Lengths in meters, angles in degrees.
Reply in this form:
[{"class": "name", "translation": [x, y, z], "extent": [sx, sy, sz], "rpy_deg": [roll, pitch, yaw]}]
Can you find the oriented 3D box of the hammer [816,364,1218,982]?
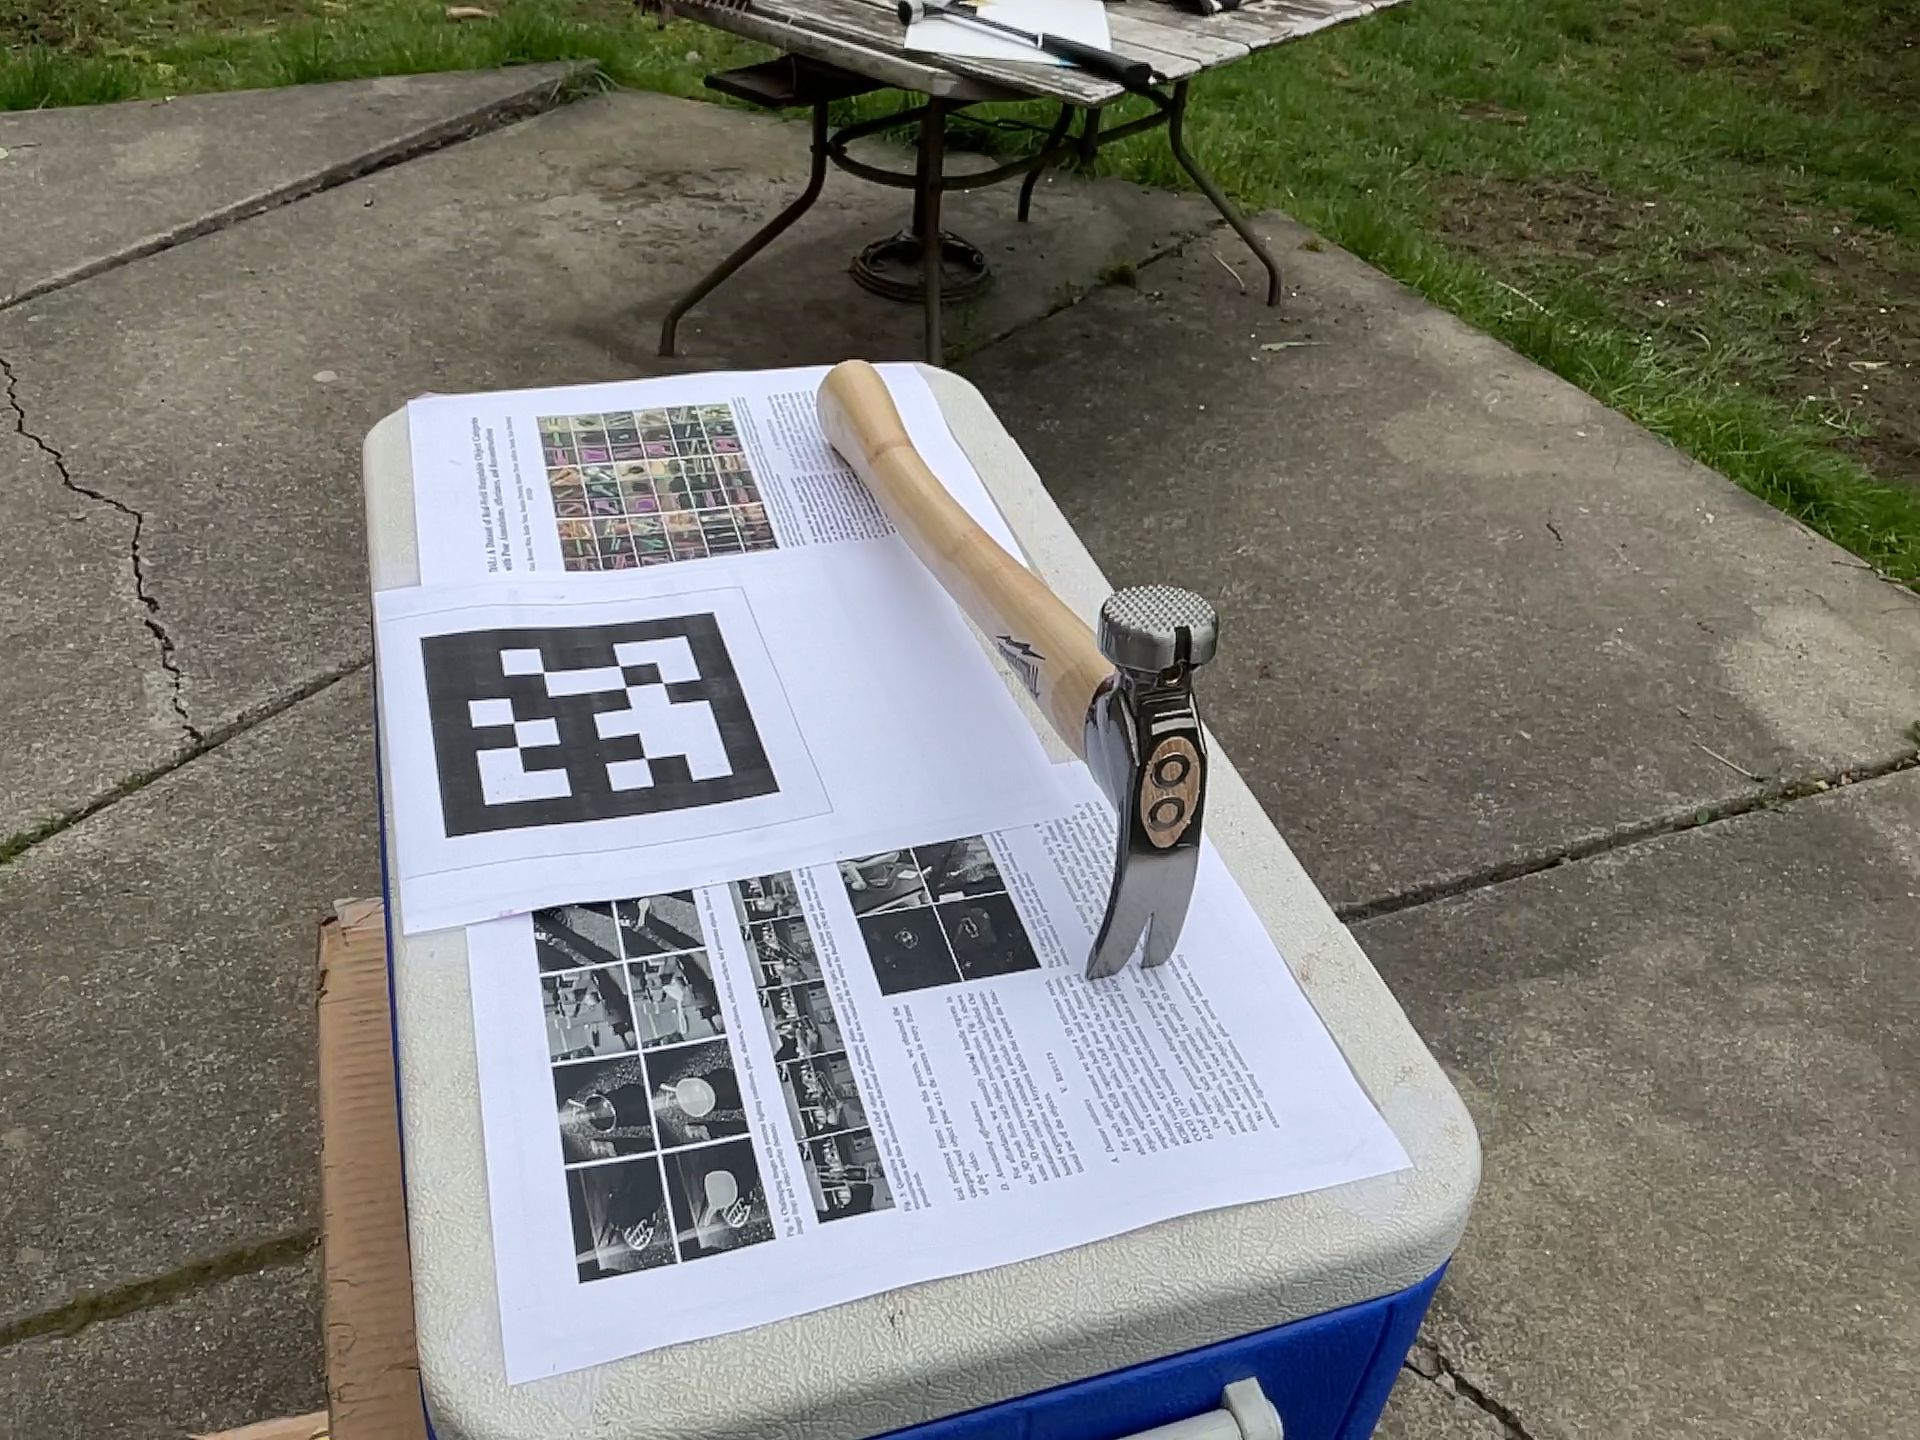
[{"class": "hammer", "translation": [0.002, -0.060, 0.697], "extent": [0.038, 0.146, 0.411], "rpy_deg": [-8, 30, -17]}]
